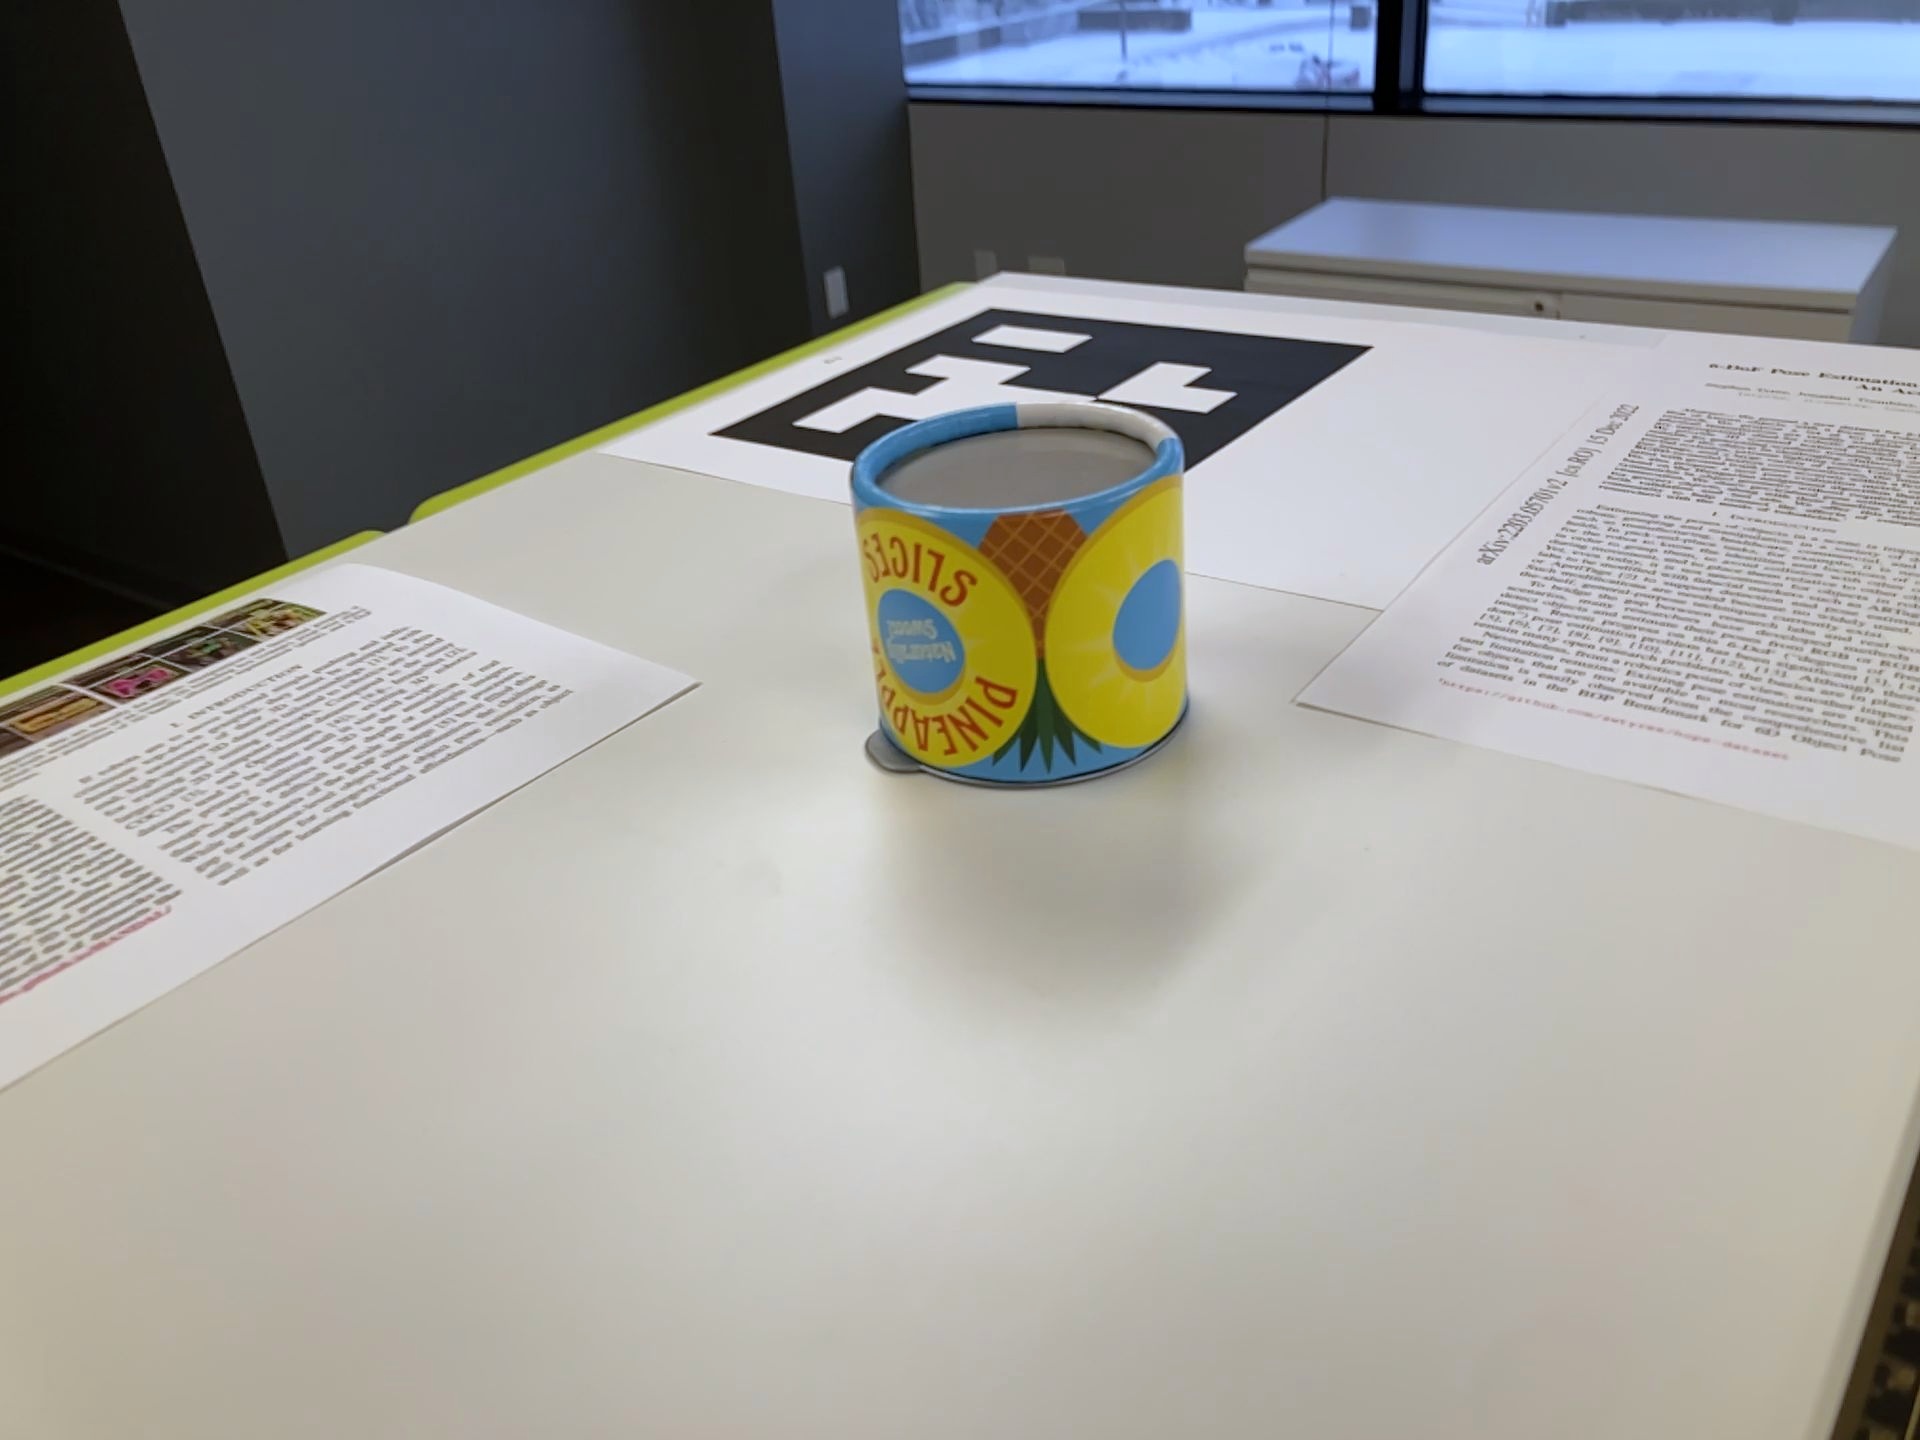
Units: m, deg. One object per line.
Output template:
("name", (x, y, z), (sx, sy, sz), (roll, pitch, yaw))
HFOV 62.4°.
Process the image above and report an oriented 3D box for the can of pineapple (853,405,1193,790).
("can of pineapple", (0.012, -0.026, 0.323), (0.071, 0.058, 0.071), (-5, 29, 3))
